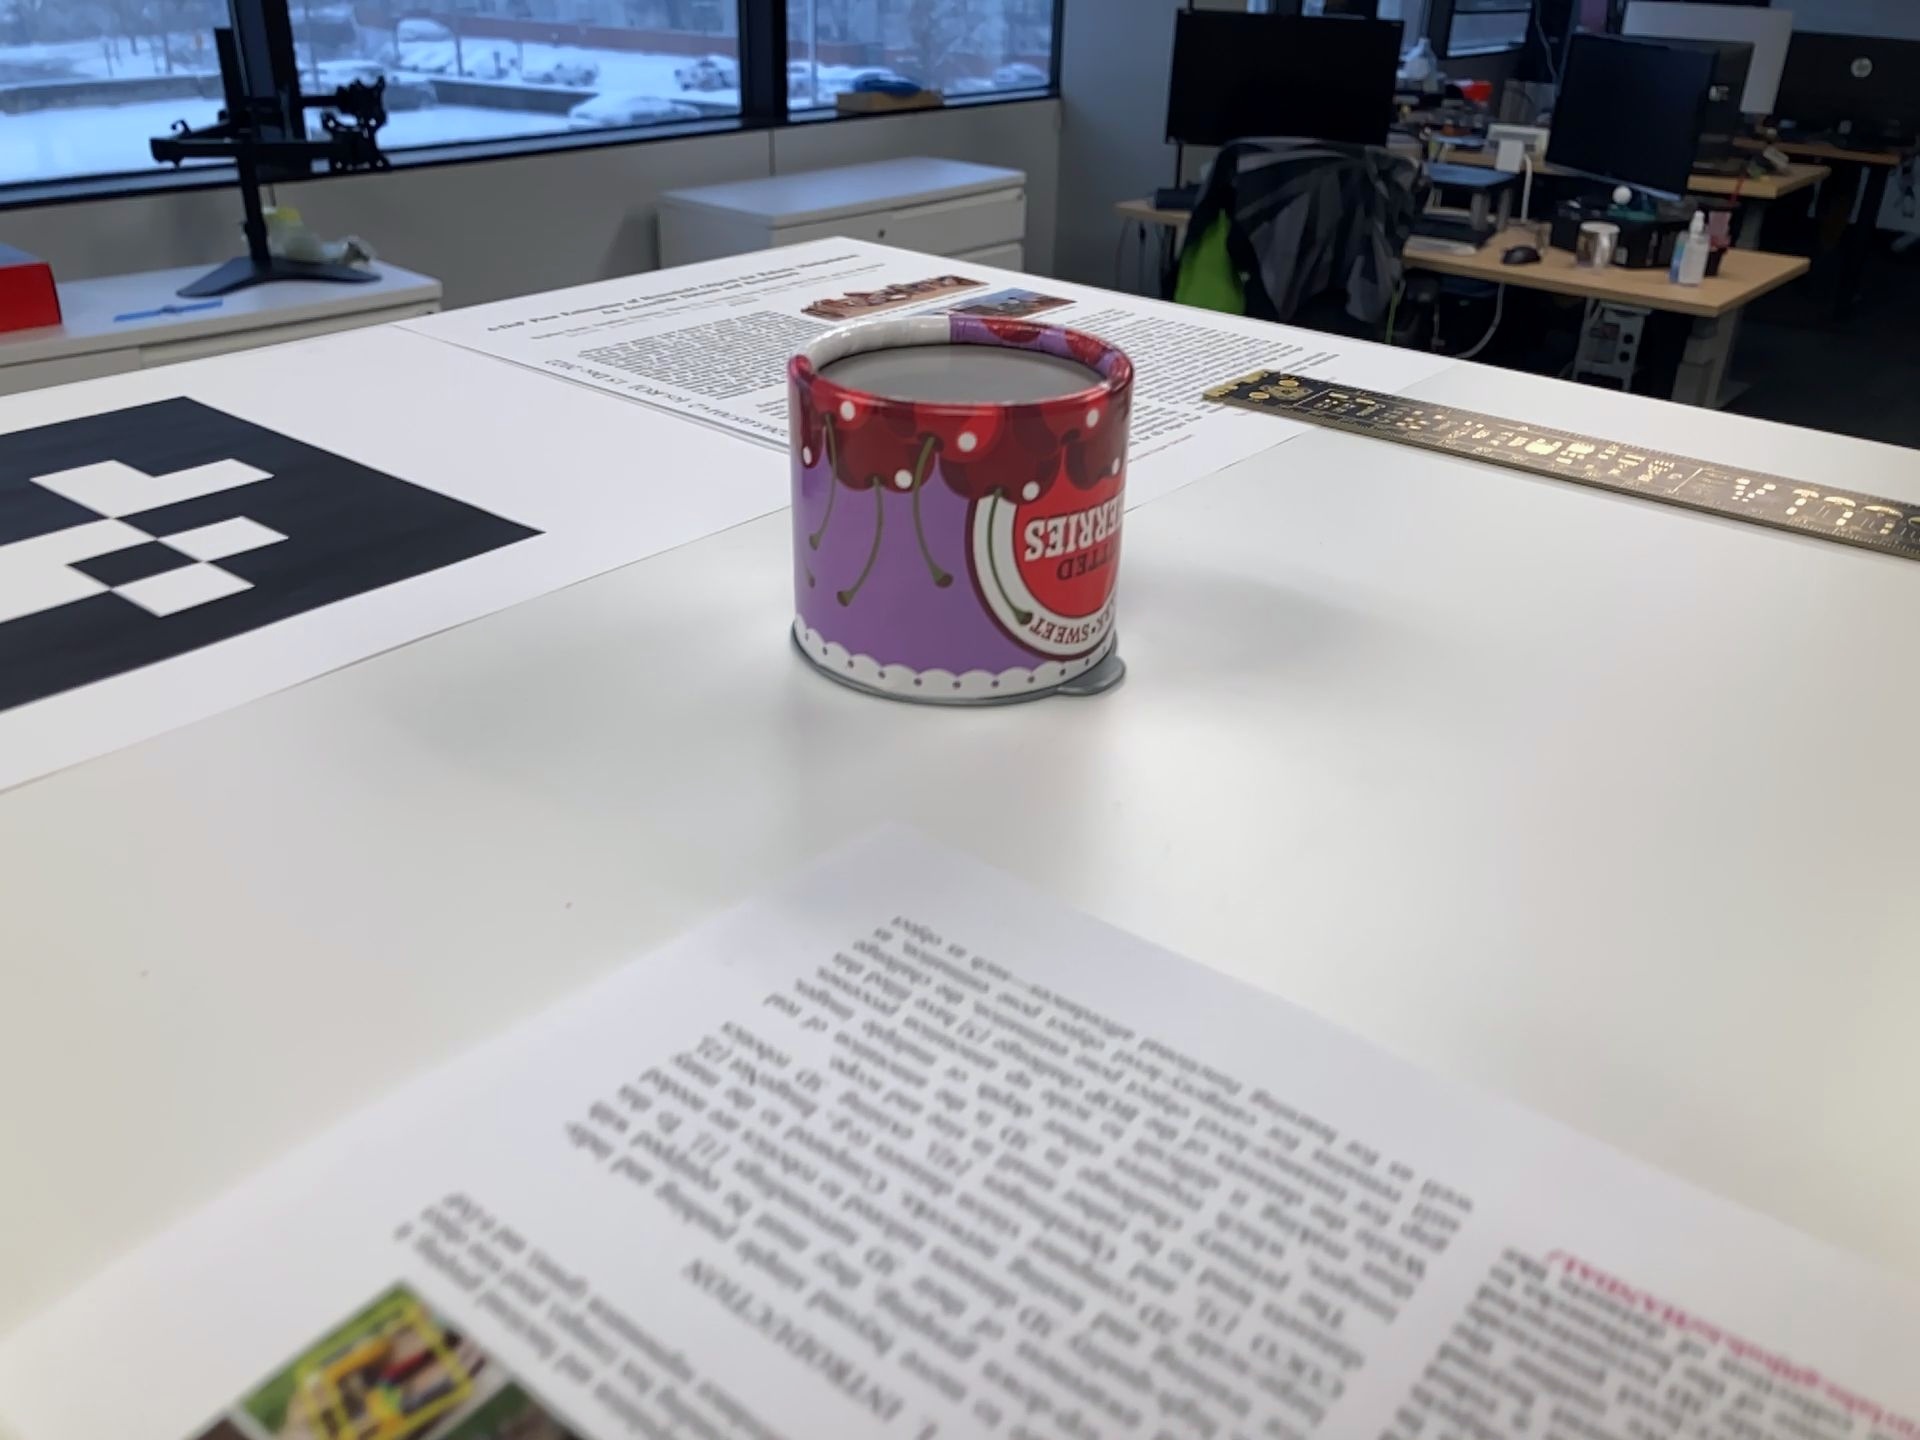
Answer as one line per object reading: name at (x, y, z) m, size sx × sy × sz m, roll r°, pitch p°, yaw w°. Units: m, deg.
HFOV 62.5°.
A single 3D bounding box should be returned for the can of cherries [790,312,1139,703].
can of cherries at (0.002, -0.043, 0.307) m, size 0.071 × 0.058 × 0.071 m, roll 2°, pitch 27°, yaw -1°
